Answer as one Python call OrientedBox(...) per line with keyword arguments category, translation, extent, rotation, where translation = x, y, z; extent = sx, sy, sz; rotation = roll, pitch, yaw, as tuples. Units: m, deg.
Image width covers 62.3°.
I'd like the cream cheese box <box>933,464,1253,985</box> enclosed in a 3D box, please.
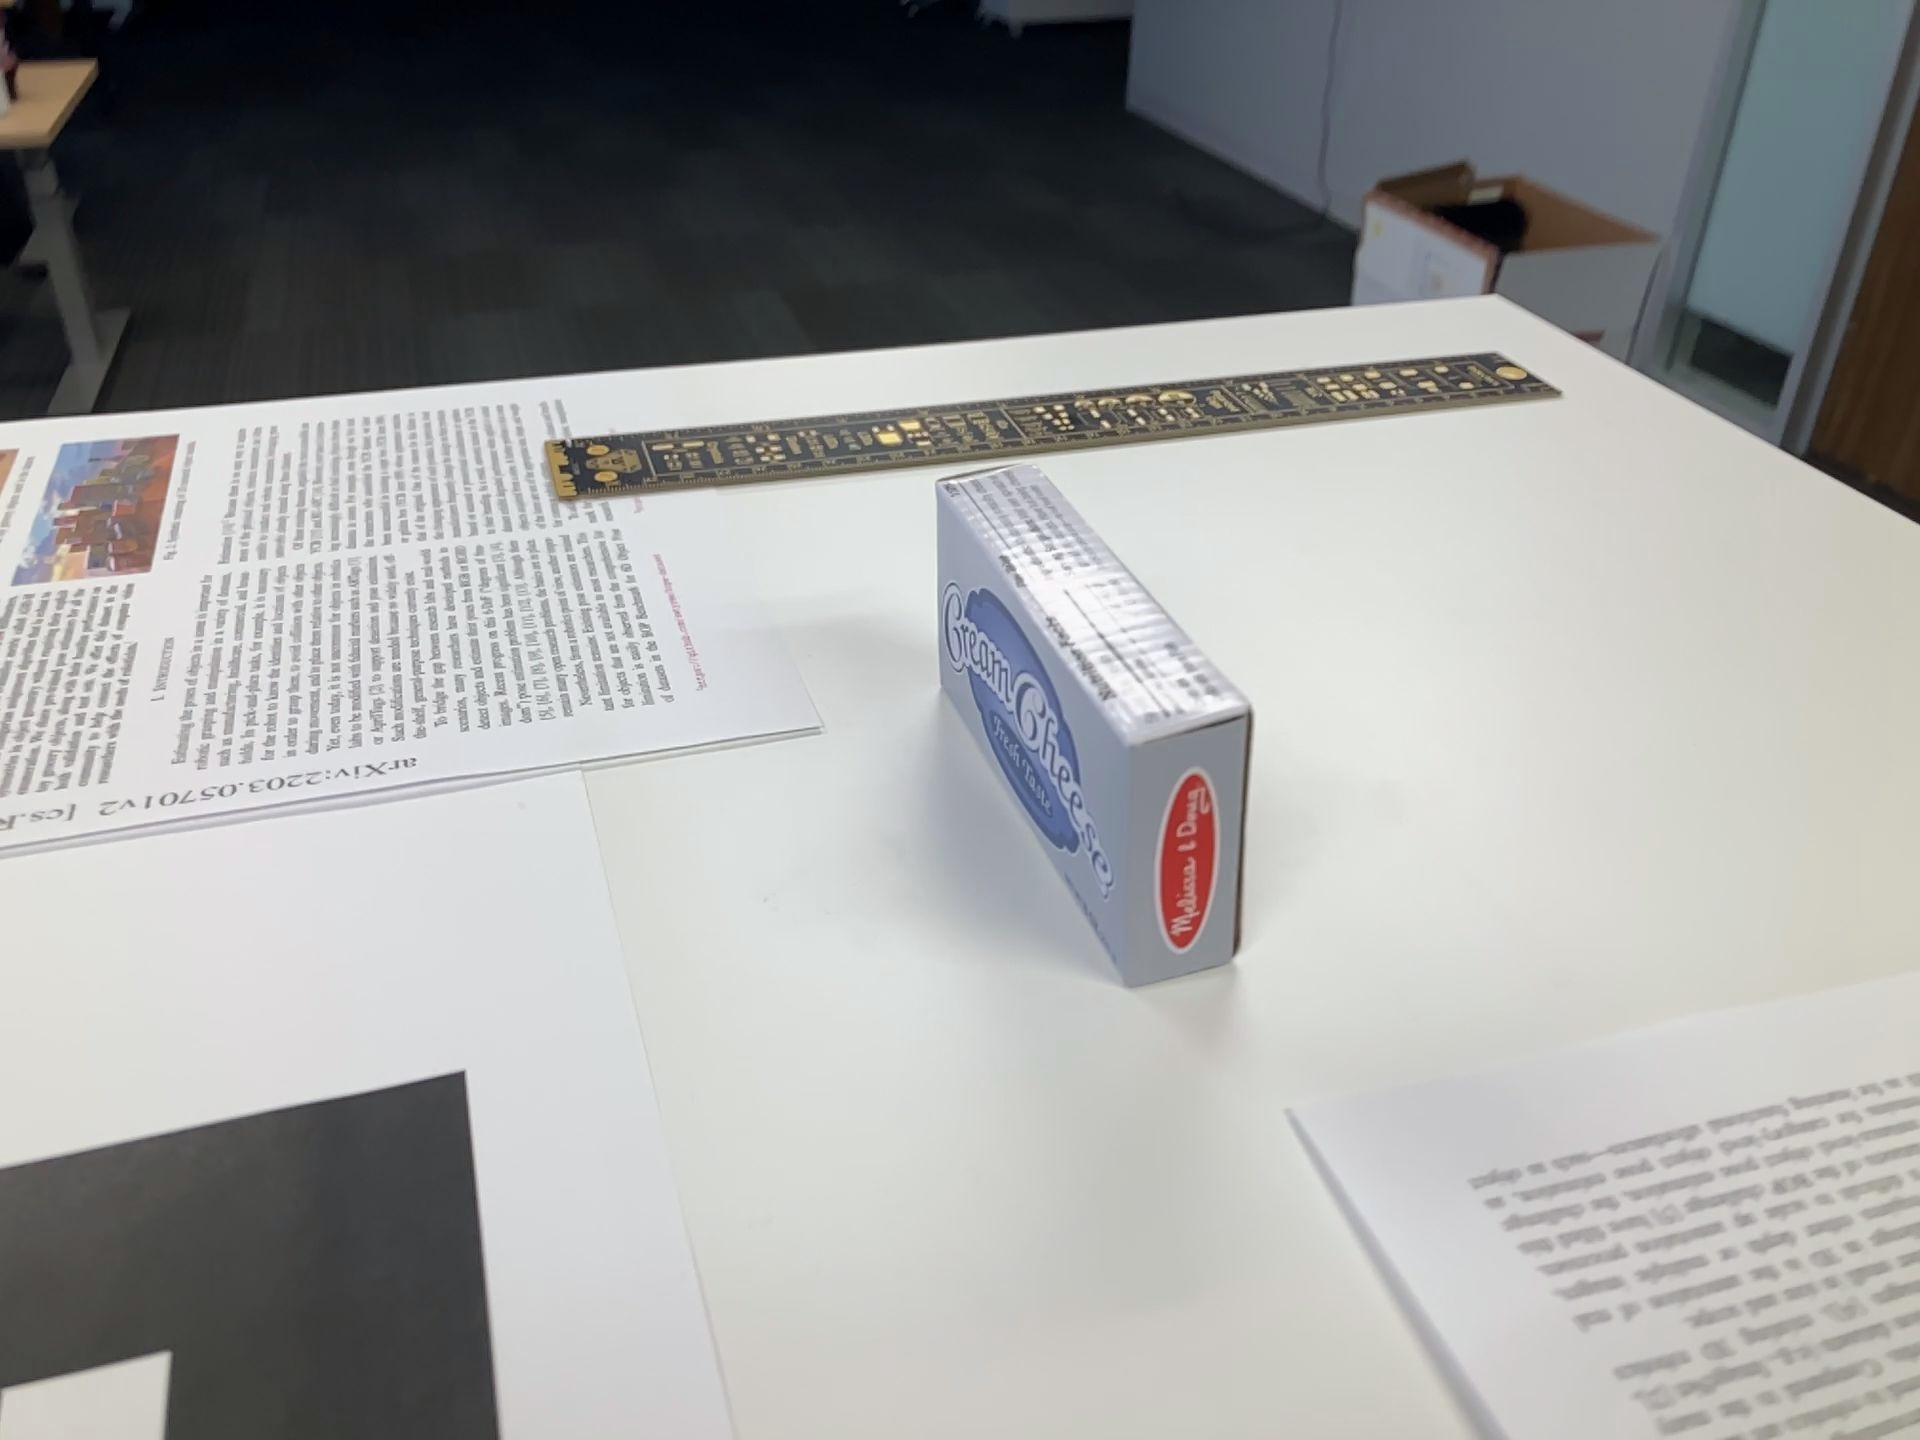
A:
OrientedBox(category="cream cheese box", translation=(0.021, -0.004, 0.302), extent=(0.024, 0.053, 0.104), rotation=(-11, 34, -15))
